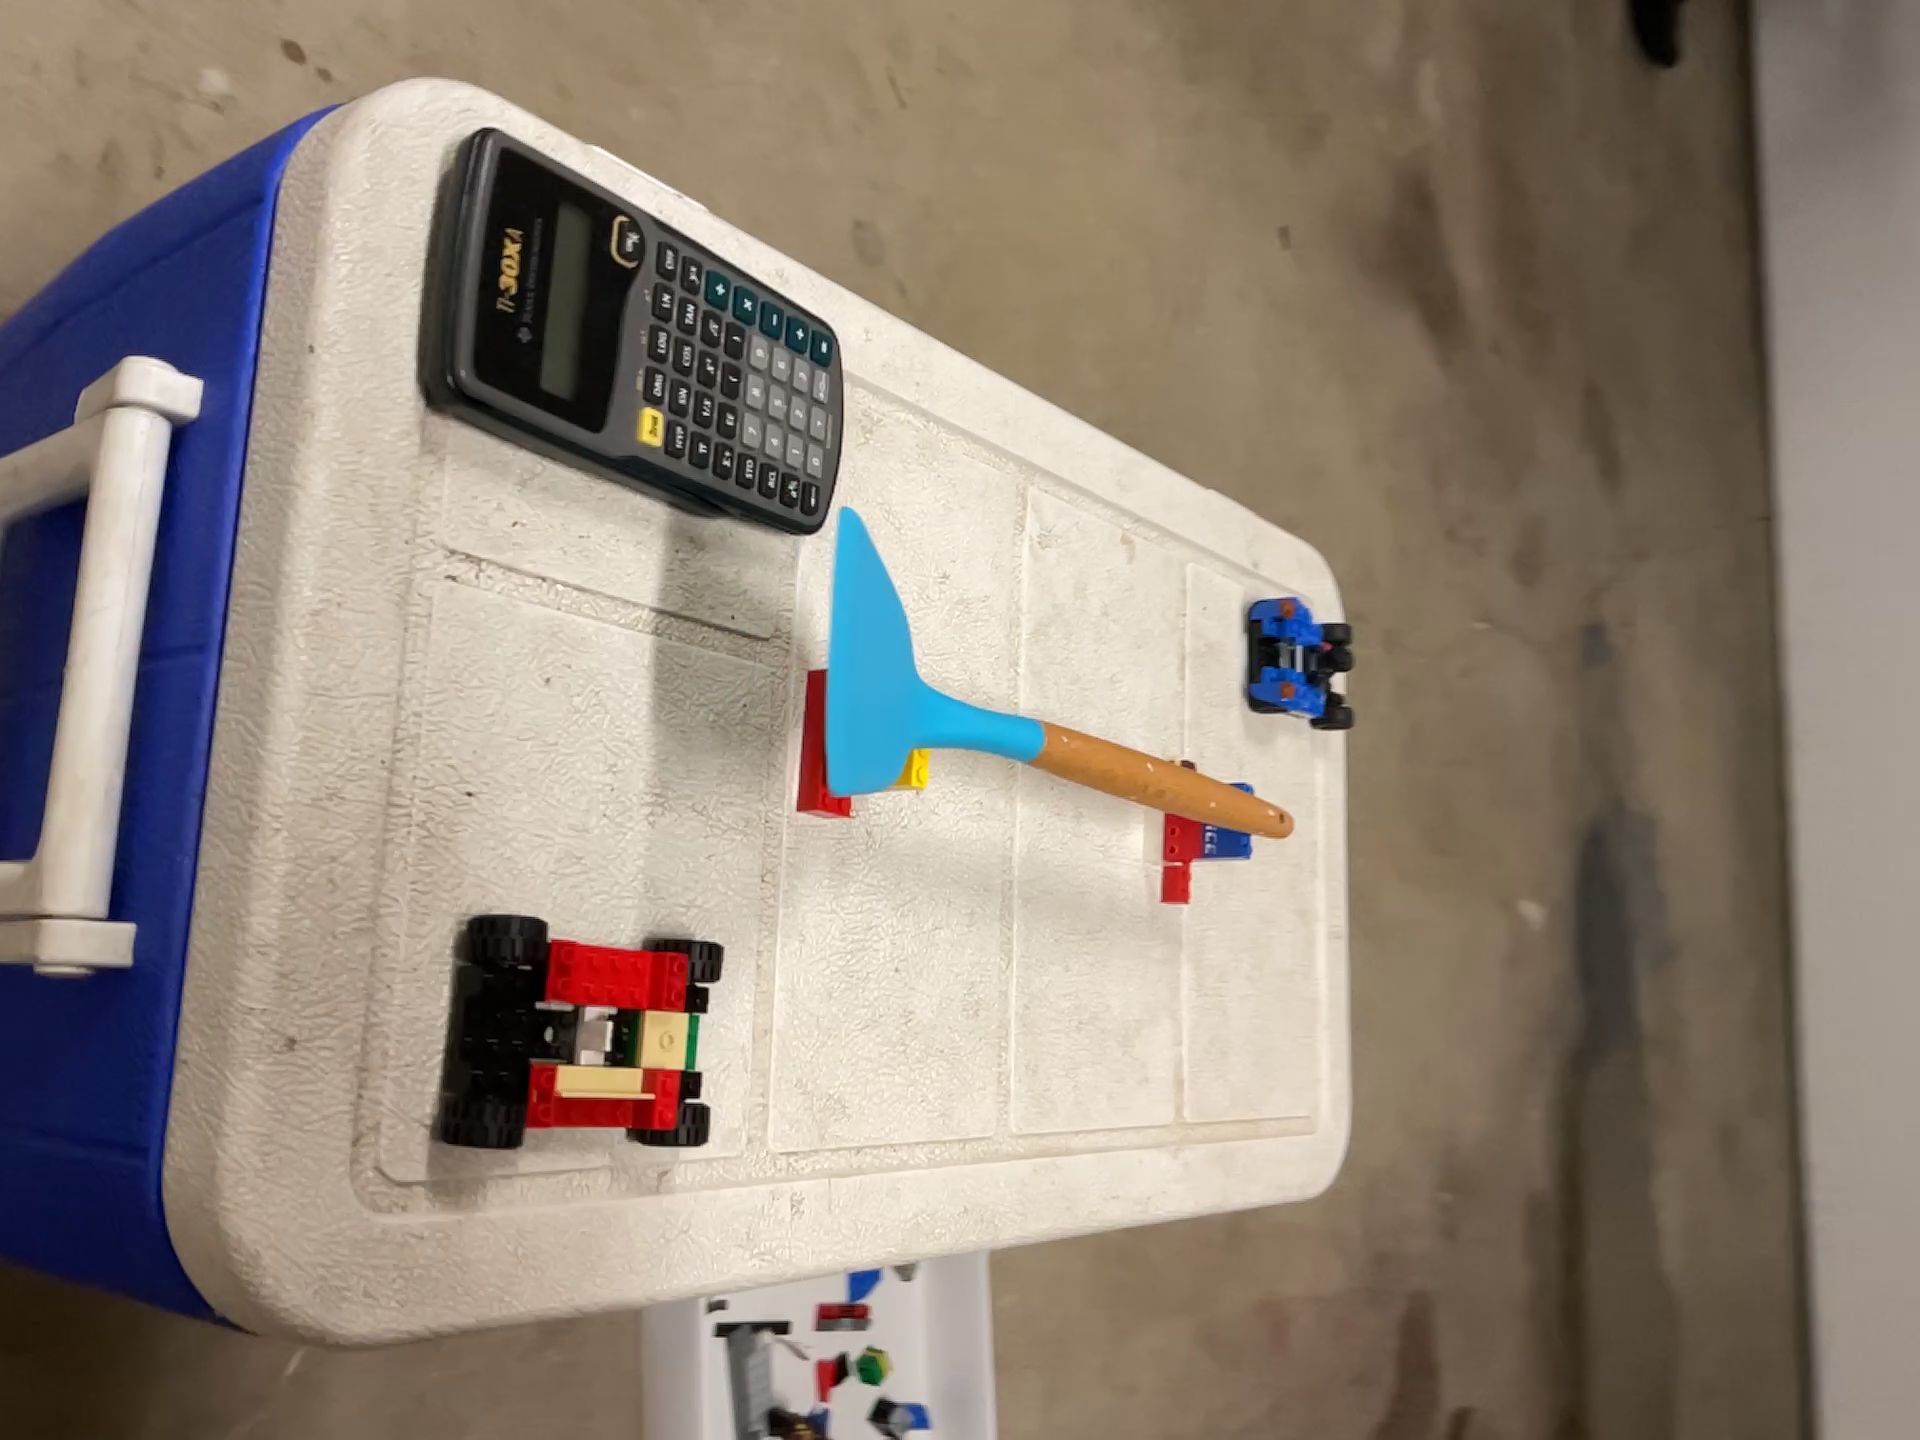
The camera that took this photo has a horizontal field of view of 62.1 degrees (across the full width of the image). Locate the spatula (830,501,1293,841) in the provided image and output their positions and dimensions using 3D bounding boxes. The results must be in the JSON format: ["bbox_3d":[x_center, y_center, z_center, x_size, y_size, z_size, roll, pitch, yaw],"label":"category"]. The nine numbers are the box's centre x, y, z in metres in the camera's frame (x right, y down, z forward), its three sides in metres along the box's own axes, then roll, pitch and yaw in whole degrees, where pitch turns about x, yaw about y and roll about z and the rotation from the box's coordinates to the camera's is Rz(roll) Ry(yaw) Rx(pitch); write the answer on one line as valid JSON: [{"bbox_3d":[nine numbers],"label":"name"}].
[{"bbox_3d":[0.047,0.013,0.549,0.317,0.044,0.082,18,69,-50],"label":"spatula"}]
